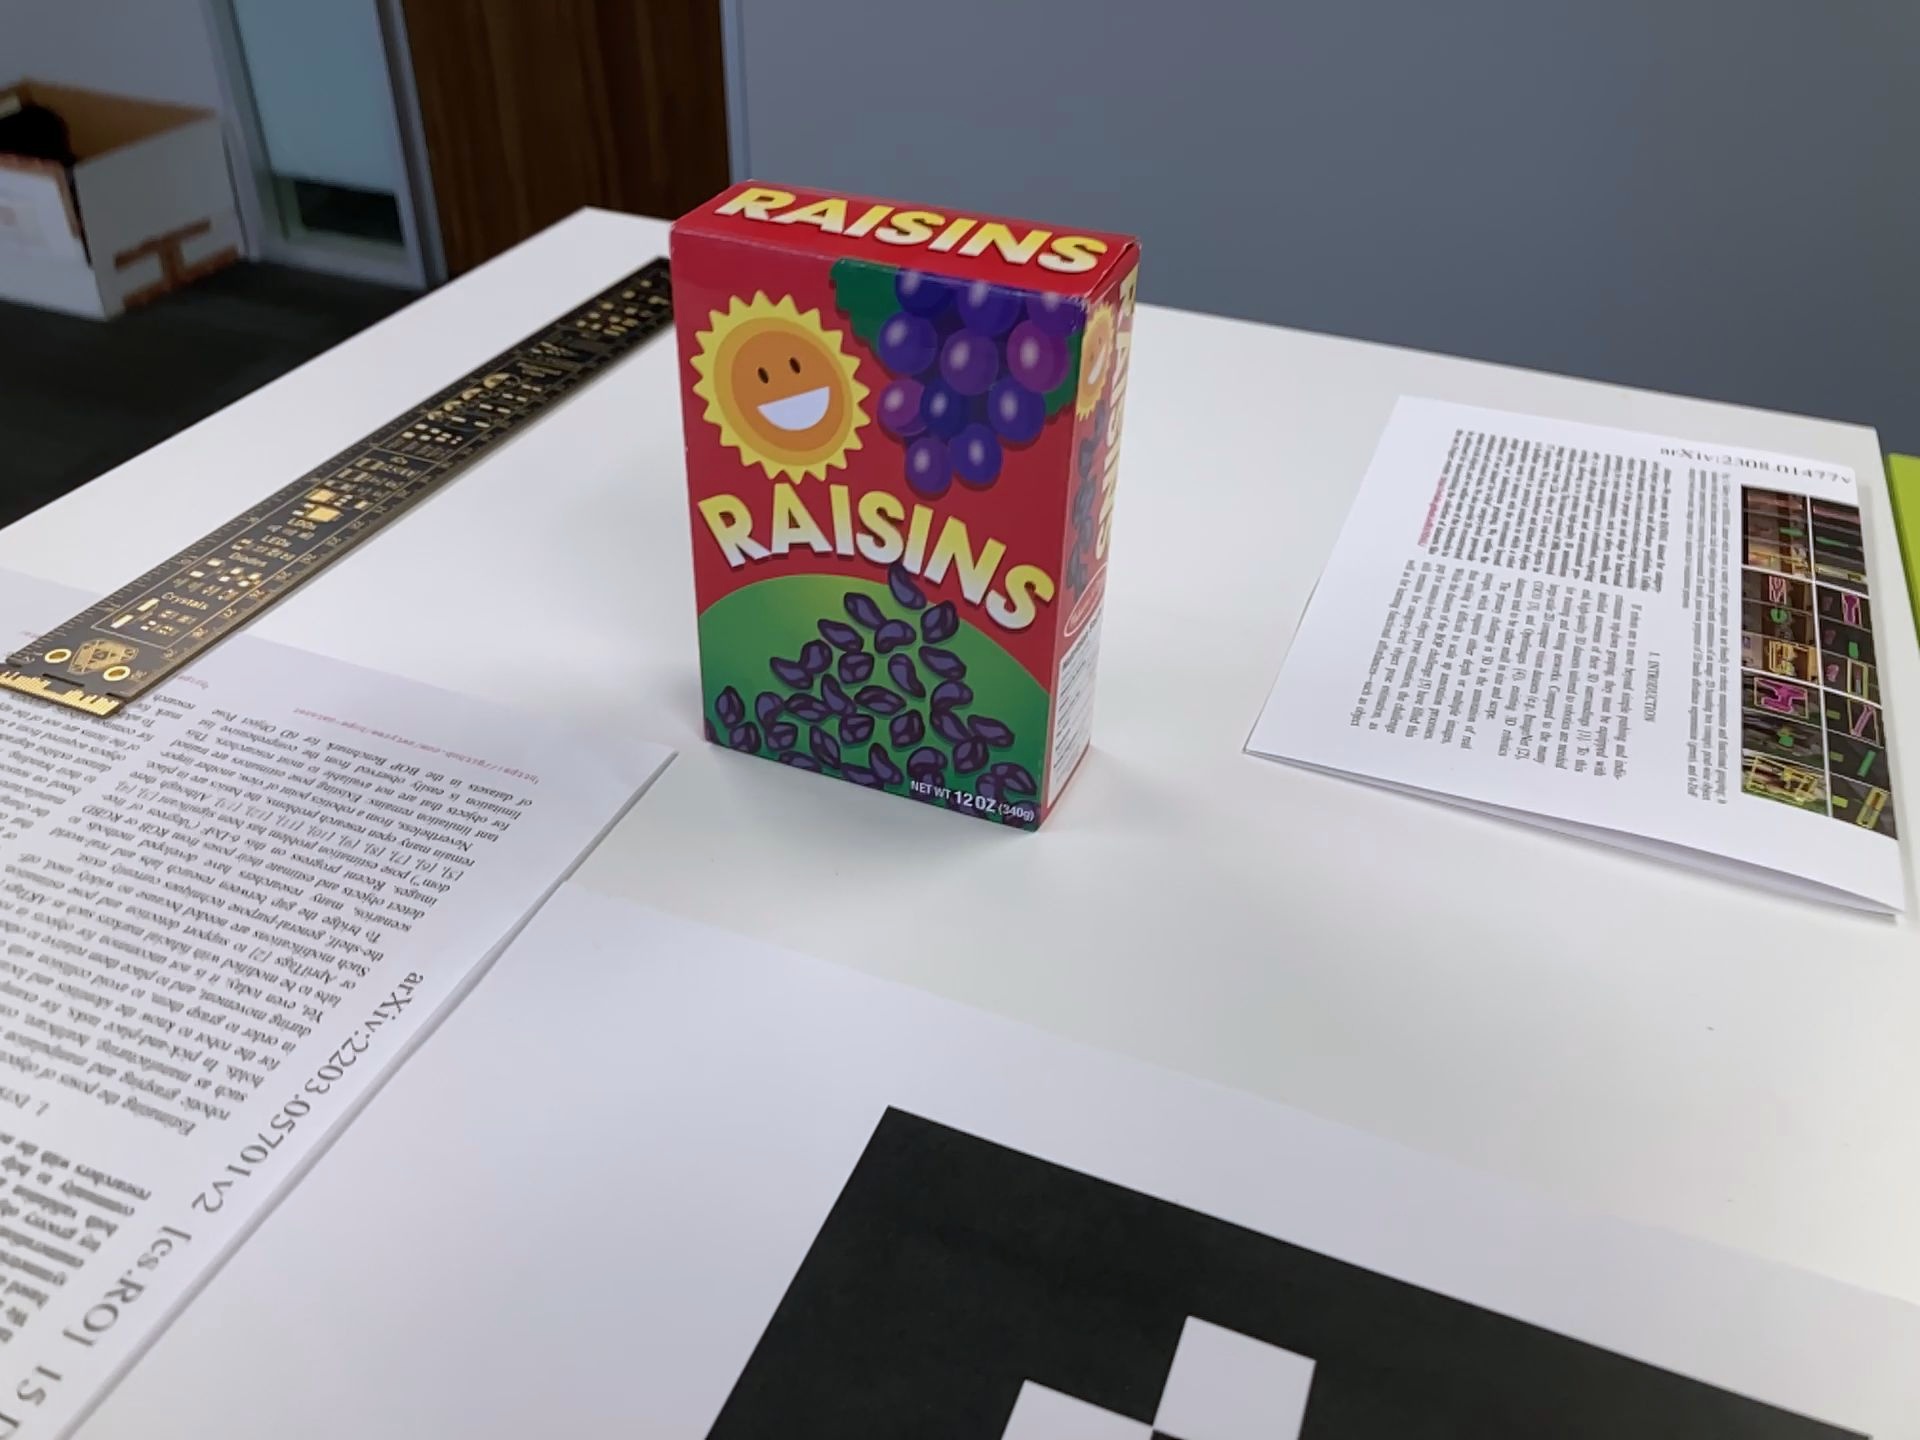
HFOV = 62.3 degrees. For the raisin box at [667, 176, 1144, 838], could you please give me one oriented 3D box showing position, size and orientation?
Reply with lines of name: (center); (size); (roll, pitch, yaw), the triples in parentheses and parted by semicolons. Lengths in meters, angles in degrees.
raisin box: (-0.012, -0.044, 0.336); (0.086, 0.123, 0.040); (15, 37, 17)
